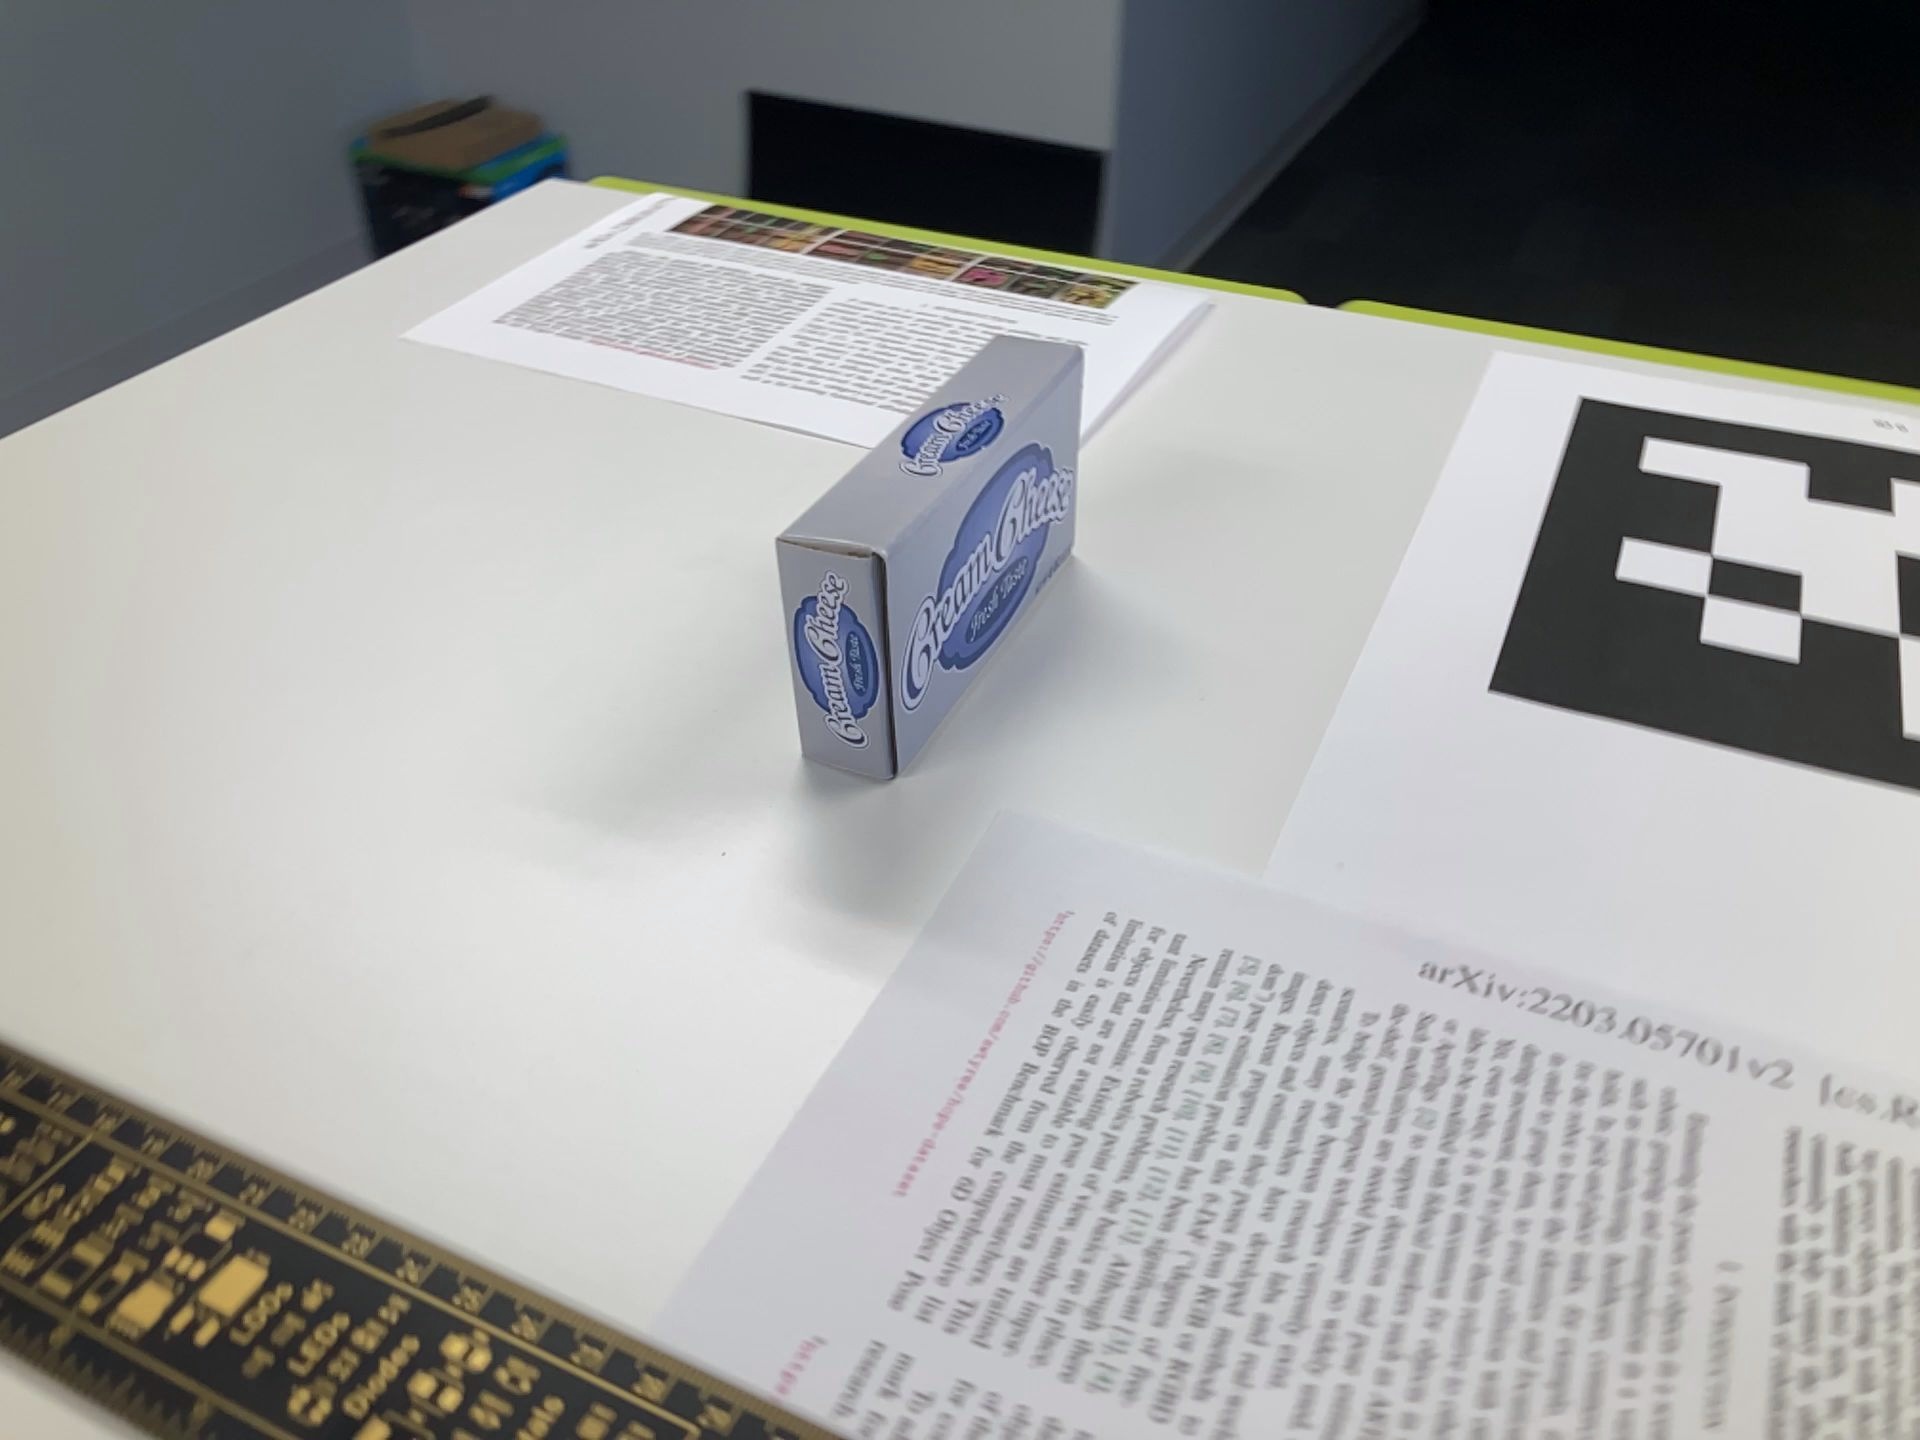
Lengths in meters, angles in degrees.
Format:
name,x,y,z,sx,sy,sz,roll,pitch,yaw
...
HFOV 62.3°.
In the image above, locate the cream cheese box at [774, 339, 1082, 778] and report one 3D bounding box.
name,x,y,z,sx,sy,sz,roll,pitch,yaw
cream cheese box,-0.003,-0.038,0.344,0.024,0.053,0.104,14,38,21
